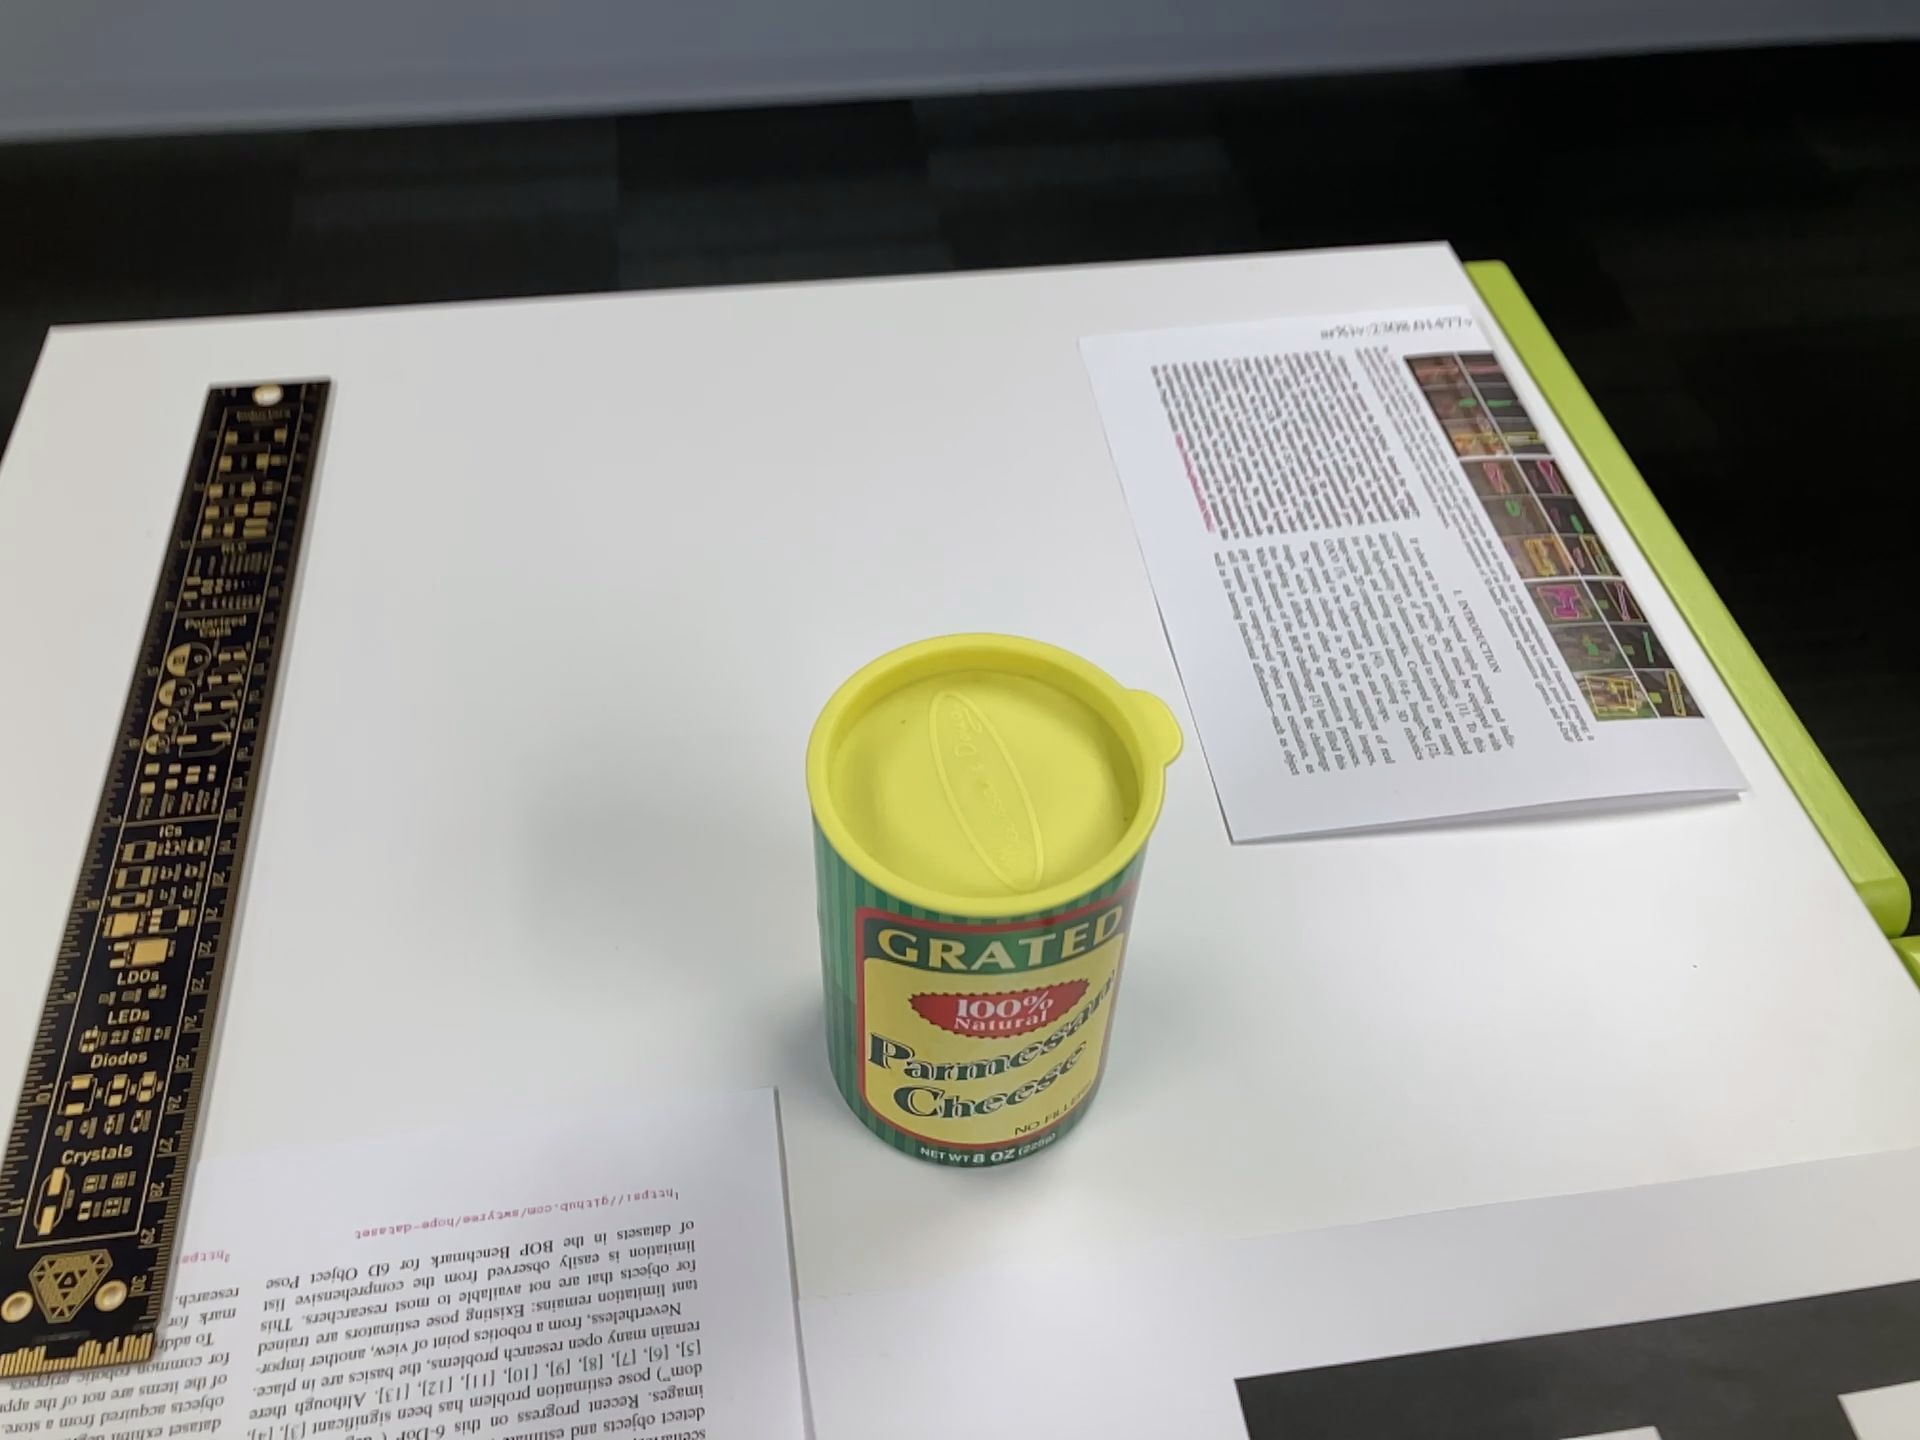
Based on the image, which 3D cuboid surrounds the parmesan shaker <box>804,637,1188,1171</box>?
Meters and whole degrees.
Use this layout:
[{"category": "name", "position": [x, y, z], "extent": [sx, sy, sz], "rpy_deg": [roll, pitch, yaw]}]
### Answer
[{"category": "parmesan shaker", "position": [0.006, 0.041, 0.329], "extent": [0.071, 0.103, 0.071], "rpy_deg": [1, 49, -1]}]
